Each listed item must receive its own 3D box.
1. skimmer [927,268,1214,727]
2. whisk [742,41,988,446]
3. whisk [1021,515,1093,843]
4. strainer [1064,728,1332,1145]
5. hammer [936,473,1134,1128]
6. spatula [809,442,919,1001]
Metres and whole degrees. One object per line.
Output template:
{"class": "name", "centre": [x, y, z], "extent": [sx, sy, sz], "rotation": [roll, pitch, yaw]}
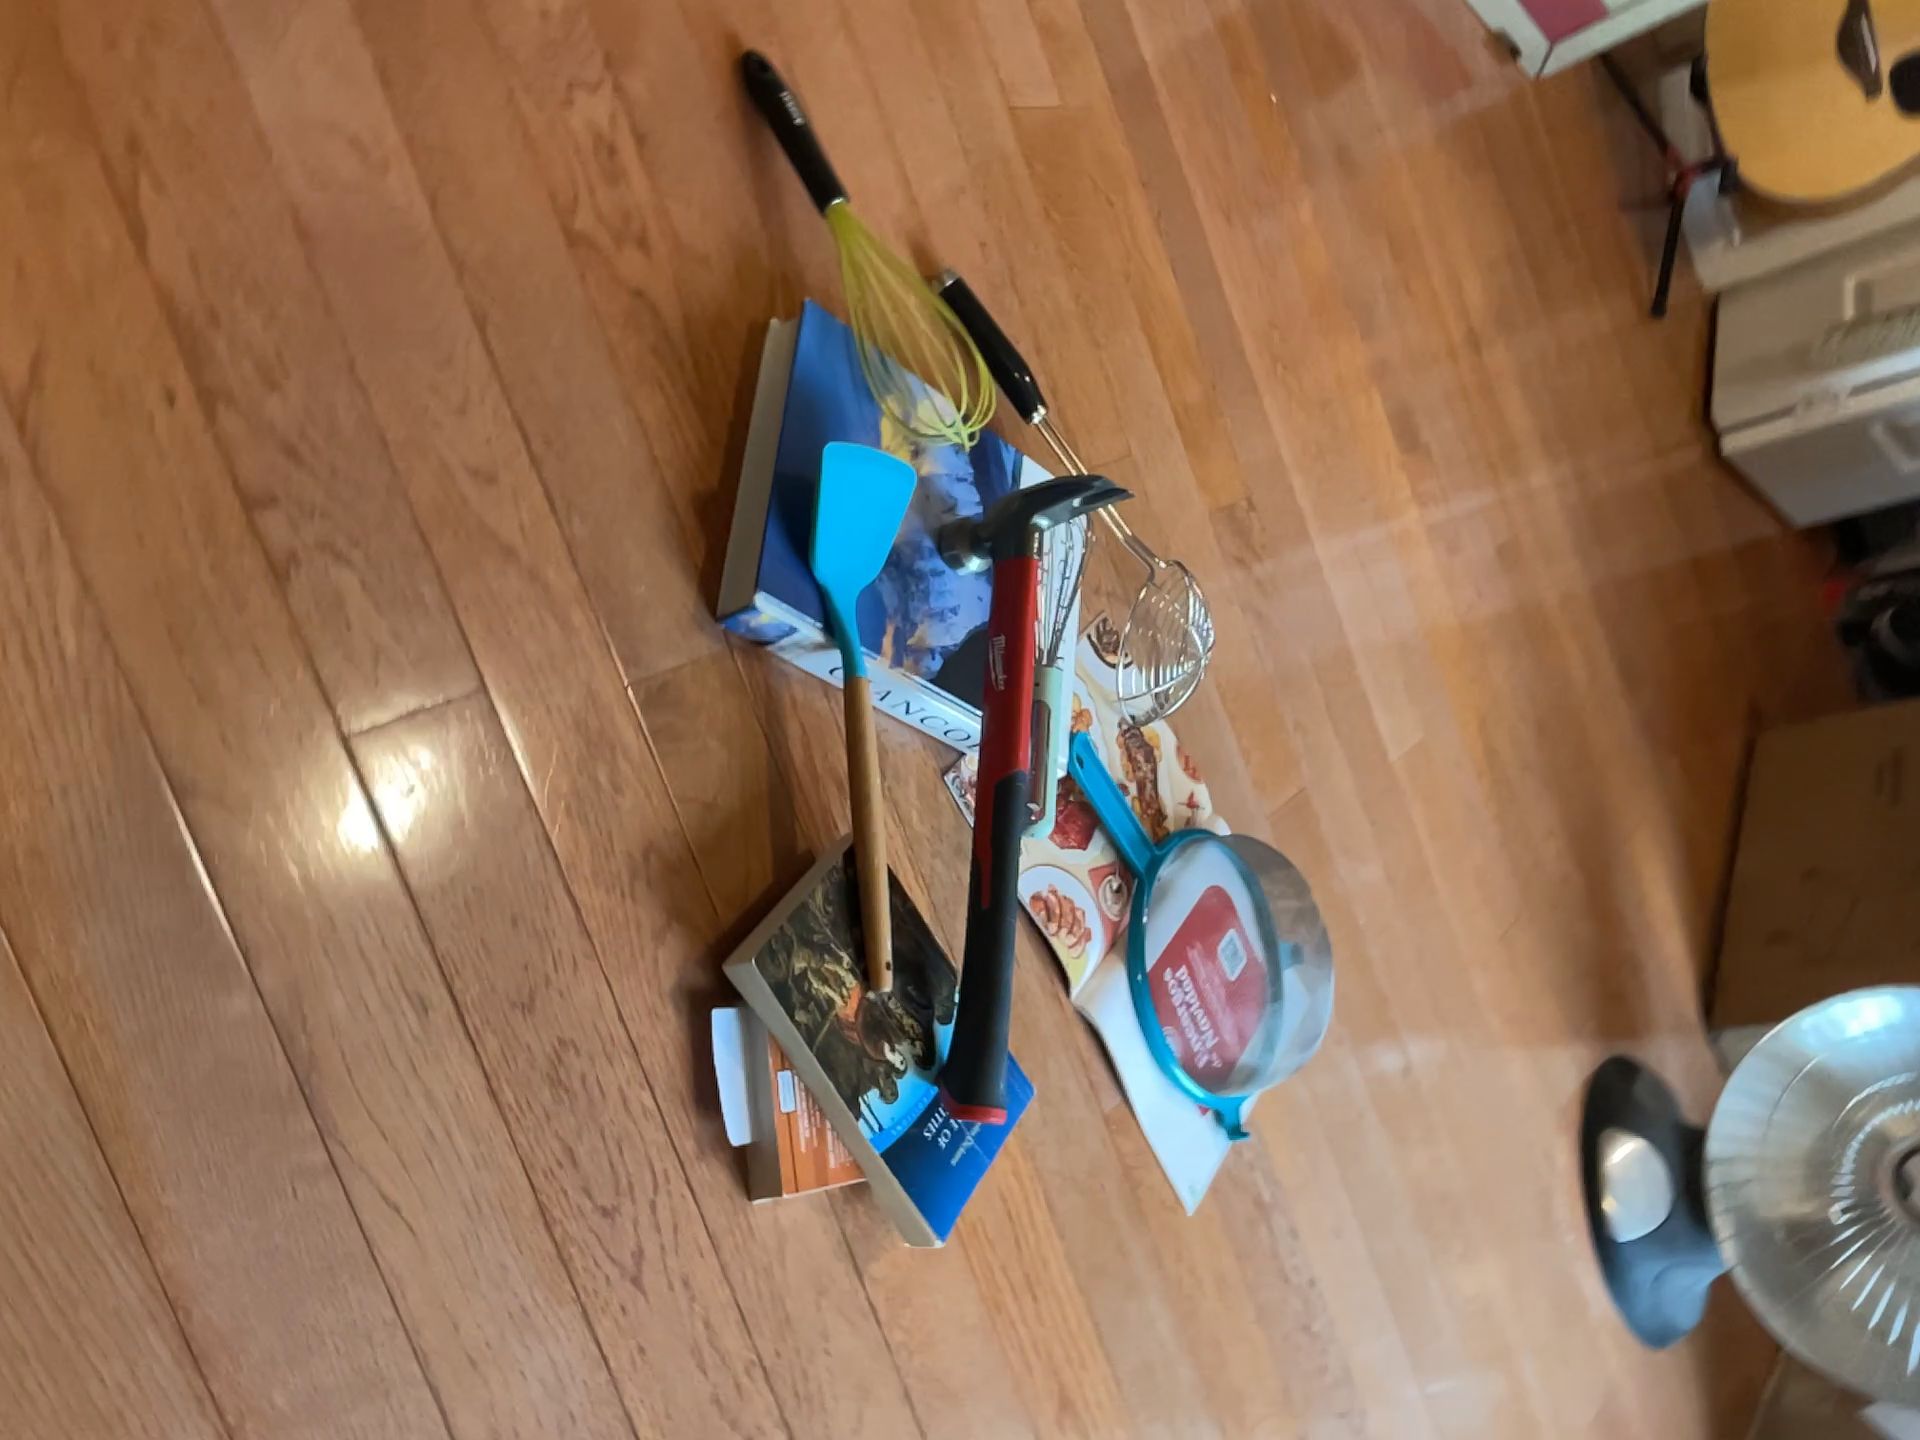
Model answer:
{"class": "skimmer", "centre": [0.072, -0.162, 1.183], "extent": [0.363, 0.090, 0.127], "rotation": [54, 45, -7]}
{"class": "whisk", "centre": [-0.069, -0.307, 1.023], "extent": [0.080, 0.067, 0.312], "rotation": [-22, 79, -35]}
{"class": "whisk", "centre": [0.055, -0.040, 1.059], "extent": [0.059, 0.057, 0.247], "rotation": [53, 39, -70]}
{"class": "strainer", "centre": [0.185, 0.133, 1.147], "extent": [0.340, 0.095, 0.211], "rotation": [58, 43, -27]}
{"class": "hammer", "centre": [0.034, 0.042, 0.941], "extent": [0.038, 0.143, 0.387], "rotation": [20, 66, -40]}
{"class": "spatula", "centre": [-0.052, 0.000, 0.918], "extent": [0.082, 0.044, 0.318], "rotation": [10, 71, -49]}
